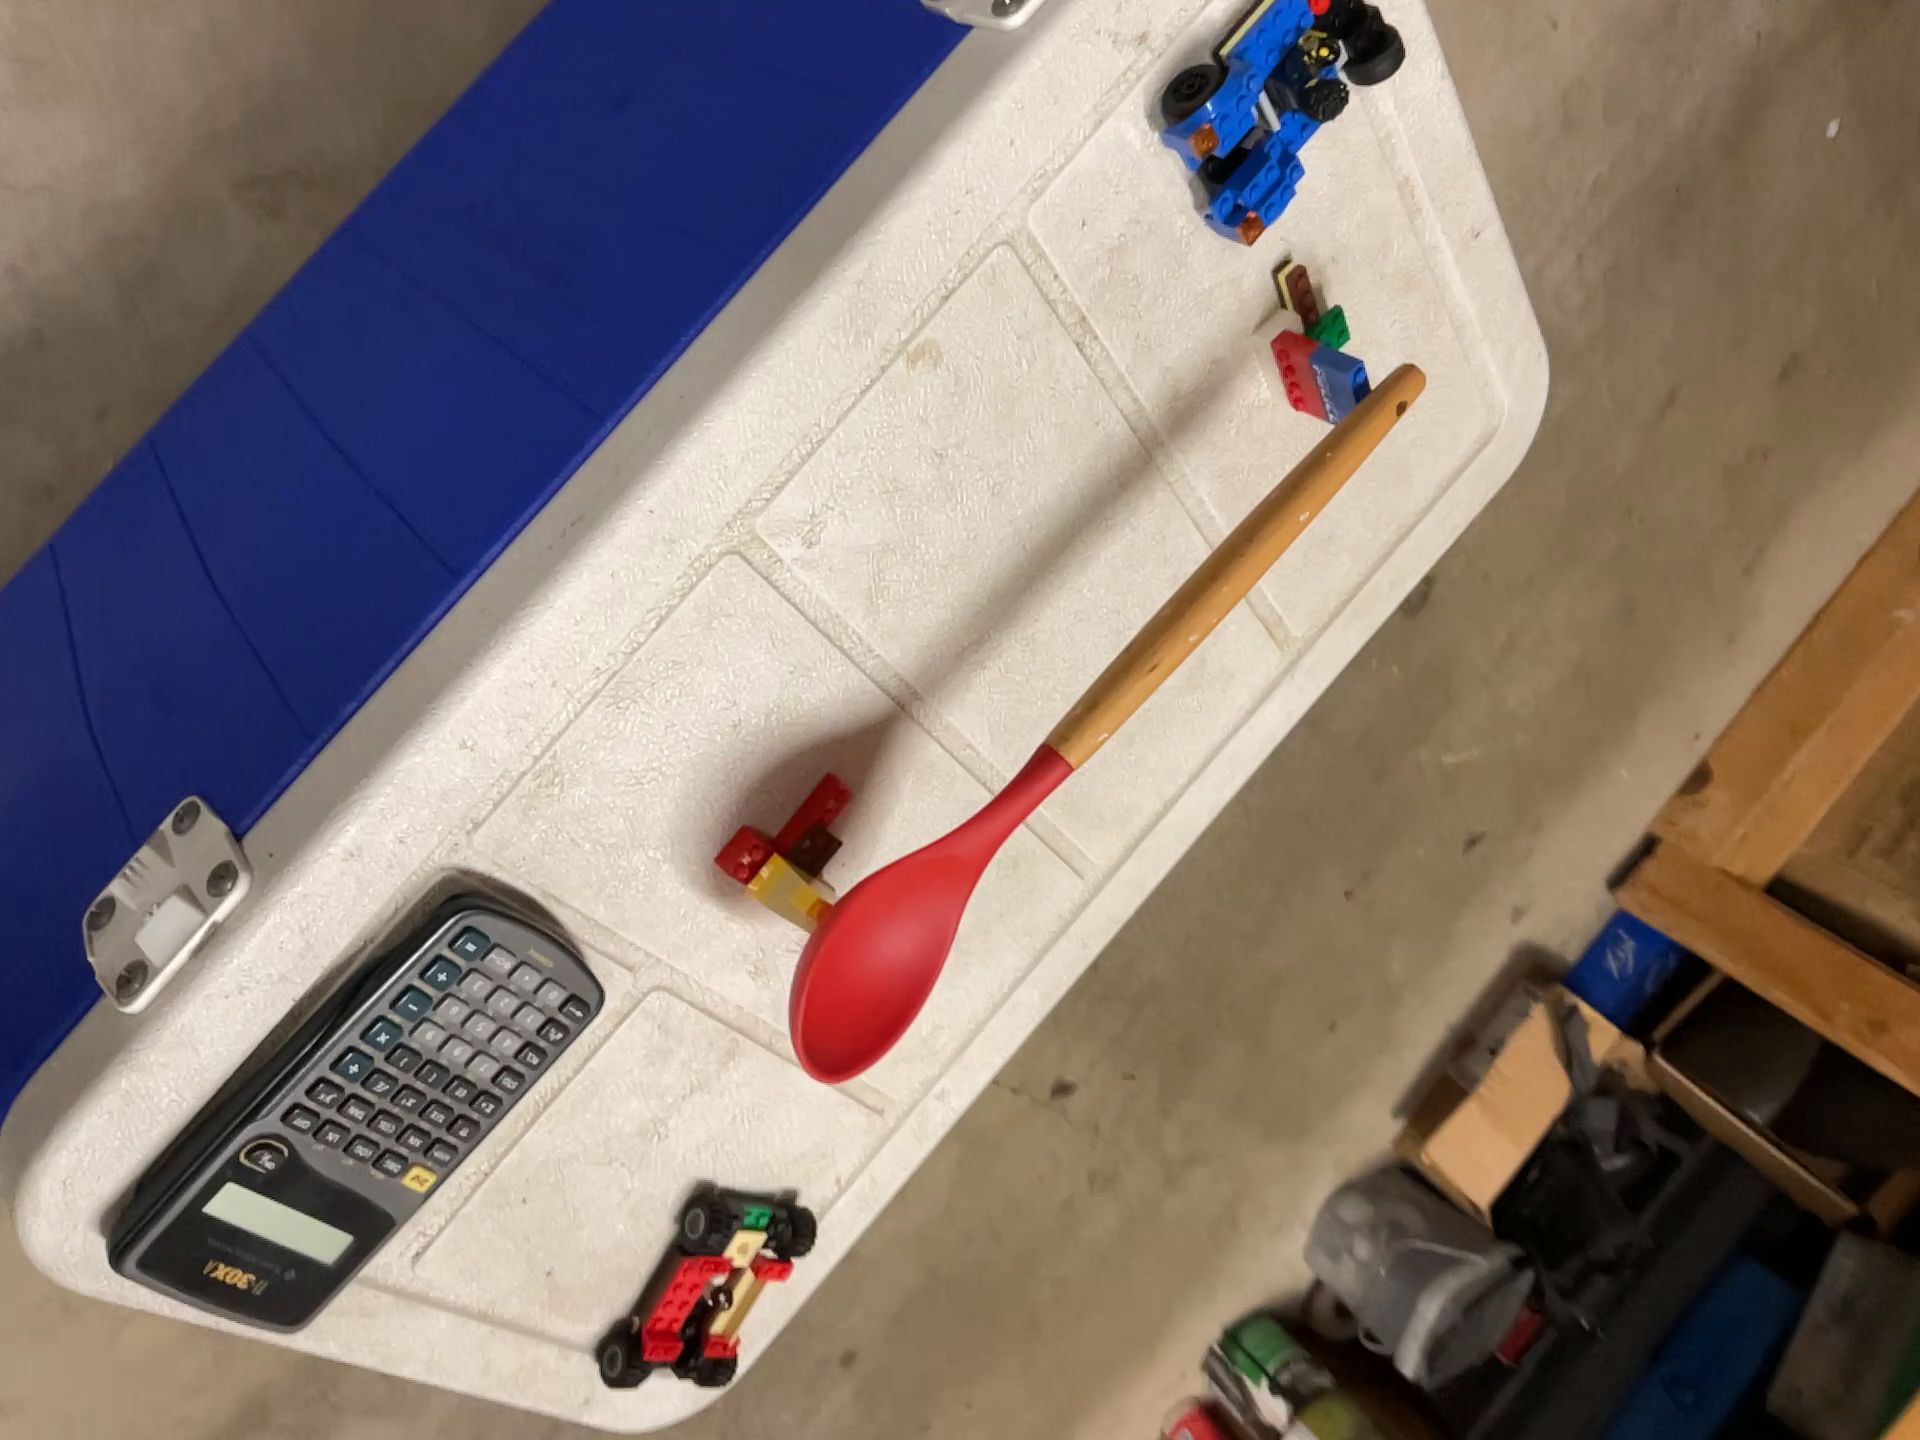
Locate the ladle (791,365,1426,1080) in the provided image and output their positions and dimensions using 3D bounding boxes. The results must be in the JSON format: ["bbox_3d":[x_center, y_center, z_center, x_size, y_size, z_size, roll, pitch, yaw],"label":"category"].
[{"bbox_3d":[0.052,-0.007,0.540,0.315,0.031,0.069,-47,142,-6],"label":"ladle"}]
